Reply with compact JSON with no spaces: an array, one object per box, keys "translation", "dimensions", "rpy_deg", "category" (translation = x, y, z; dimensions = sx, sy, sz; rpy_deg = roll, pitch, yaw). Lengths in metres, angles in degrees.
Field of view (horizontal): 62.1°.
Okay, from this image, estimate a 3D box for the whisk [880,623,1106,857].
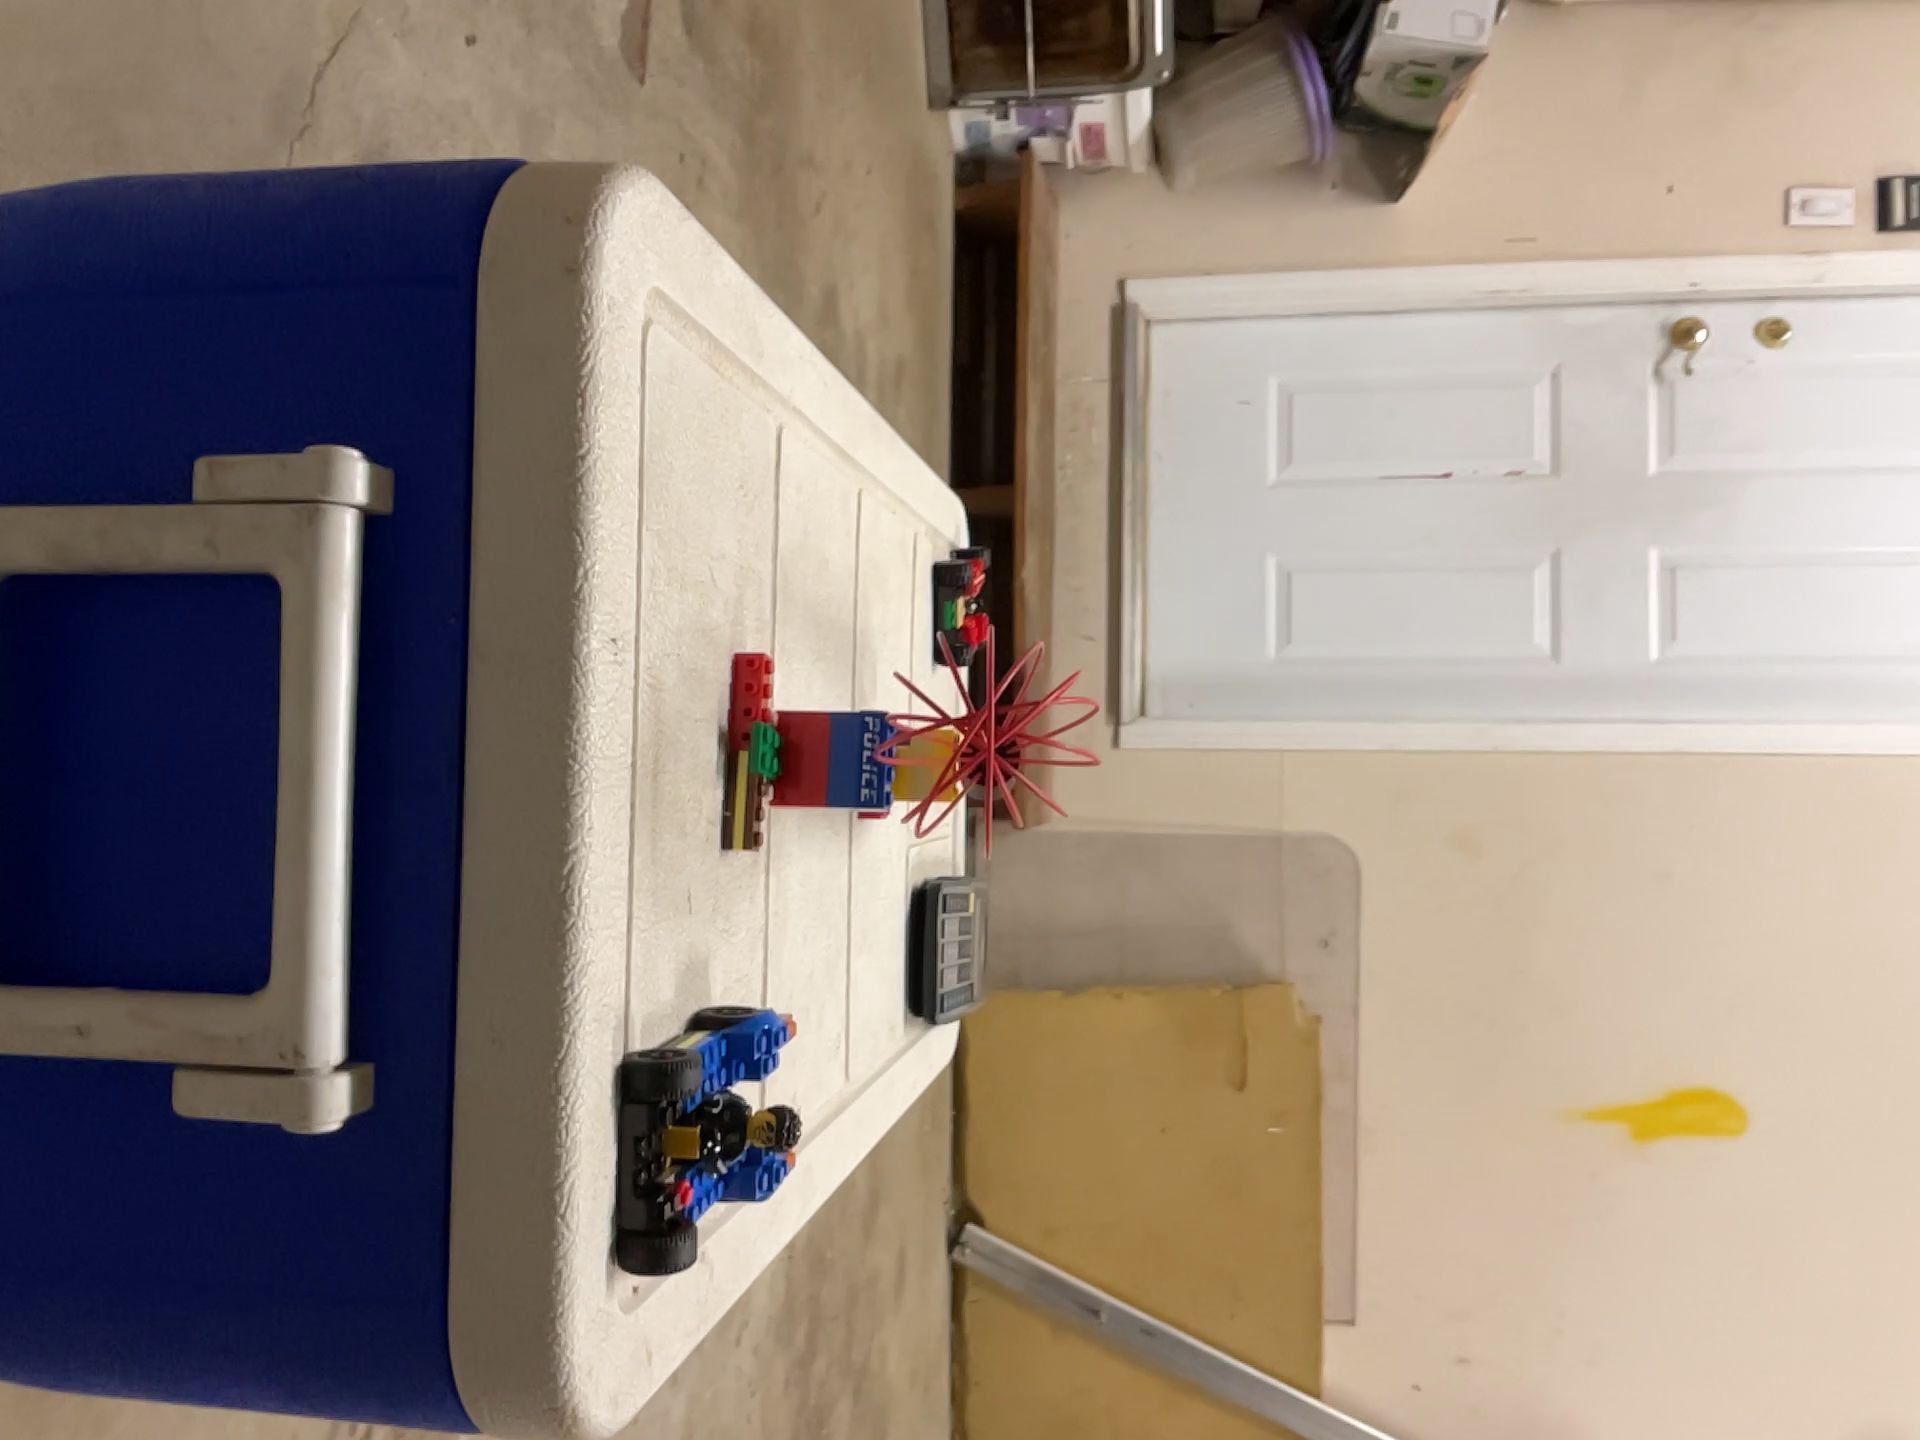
[{"translation":[0.011,0.012,0.585],"dimensions":[0.296,0.073,0.073],"rpy_deg":[85,3,-86],"category":"whisk"}]
